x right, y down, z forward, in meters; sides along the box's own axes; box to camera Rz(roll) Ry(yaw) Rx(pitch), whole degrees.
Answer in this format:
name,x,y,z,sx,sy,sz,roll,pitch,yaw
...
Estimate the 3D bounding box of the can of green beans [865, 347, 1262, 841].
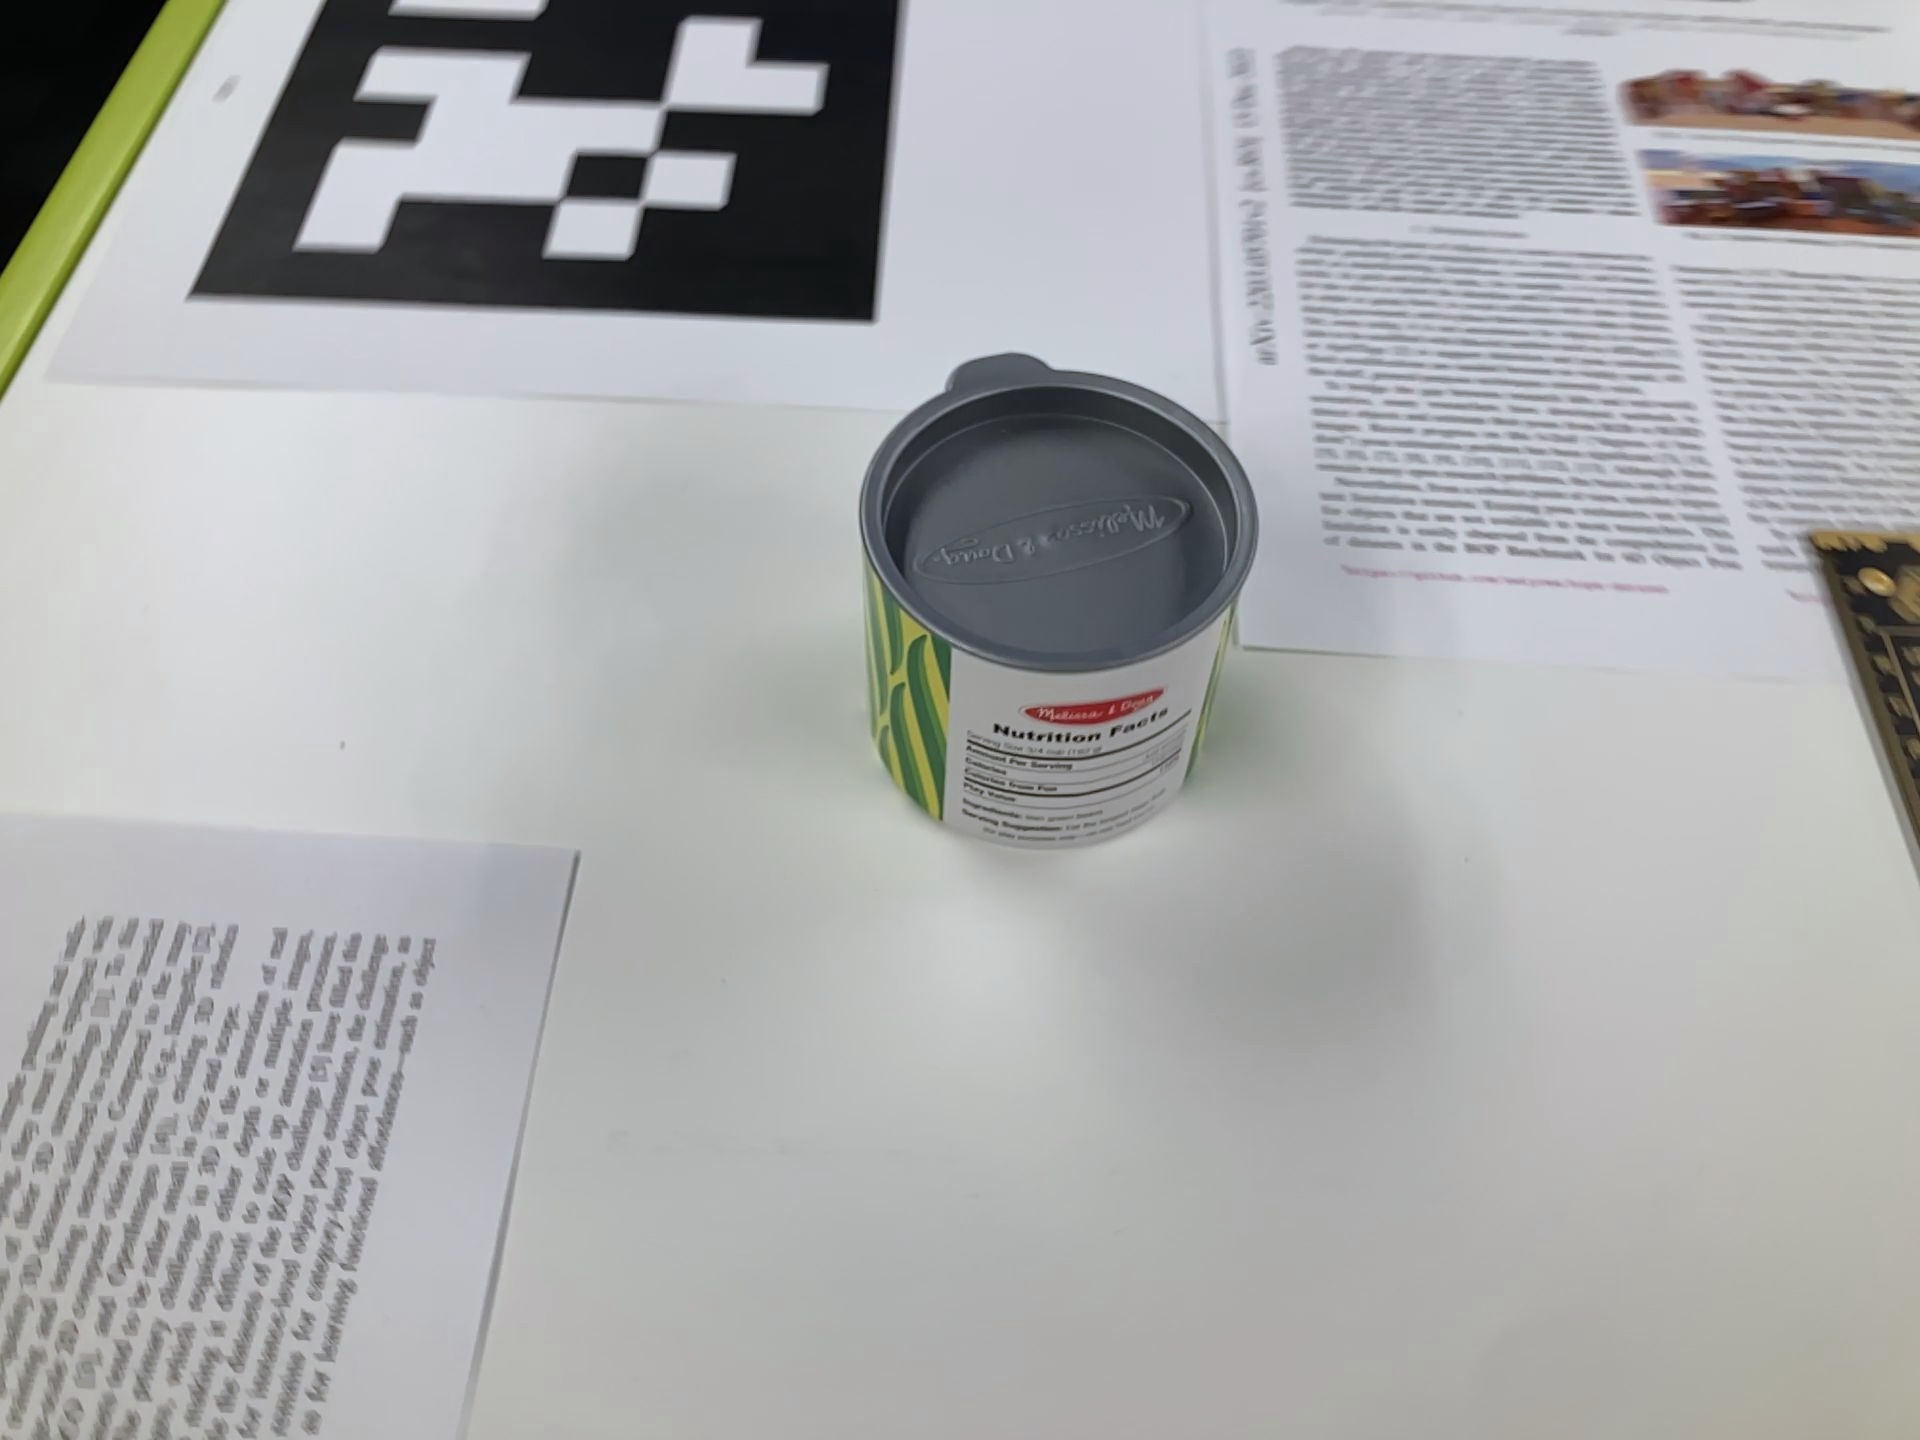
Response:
name,x,y,z,sx,sy,sz,roll,pitch,yaw
can of green beans,0.016,-0.020,0.289,0.071,0.058,0.071,1,55,-2
